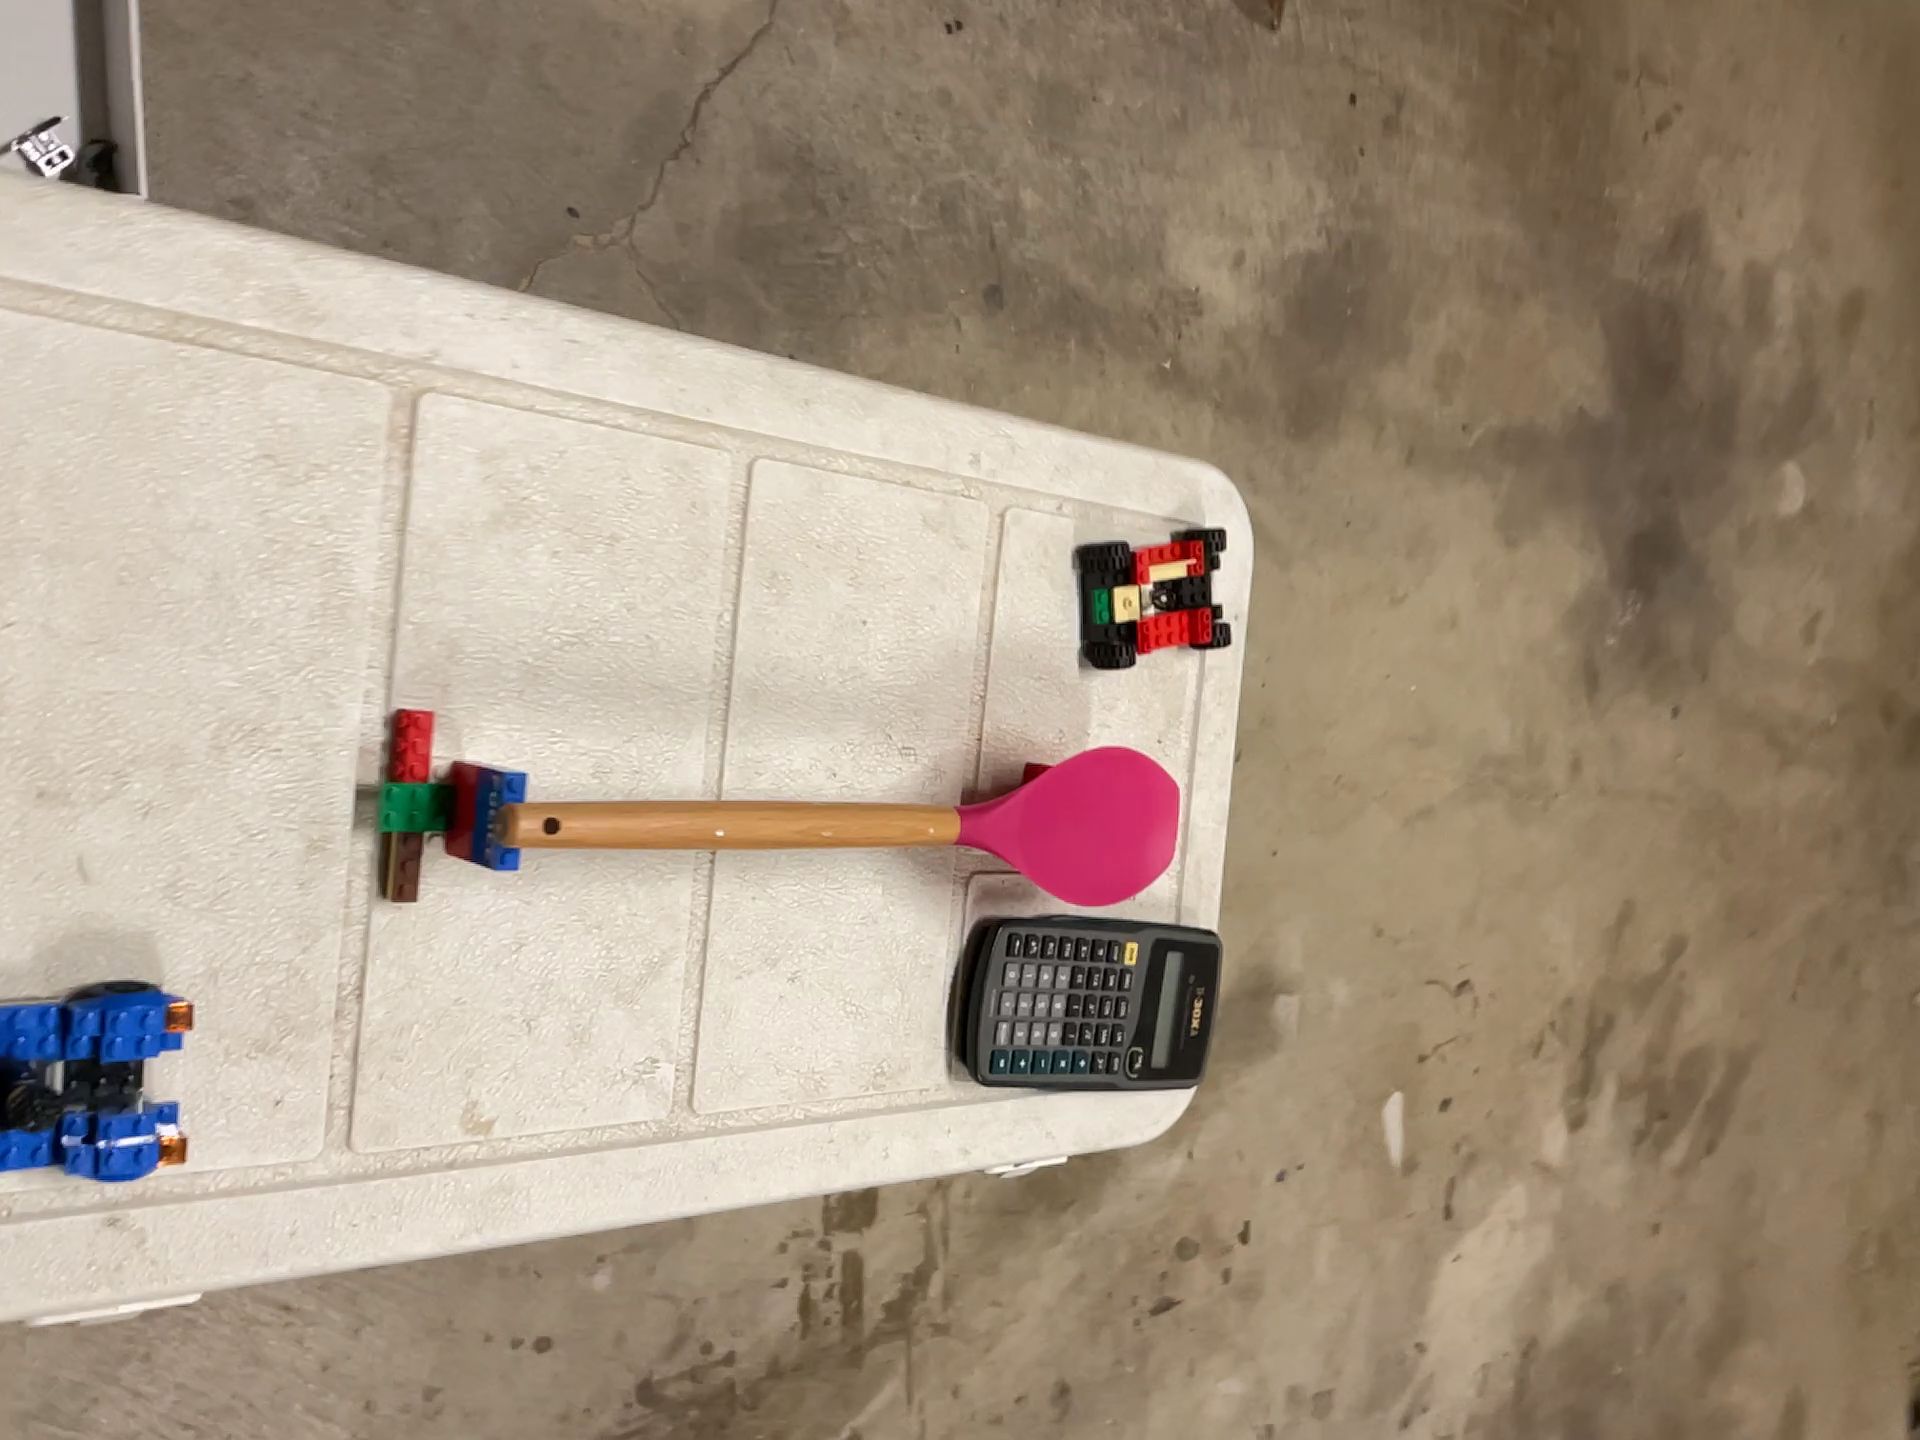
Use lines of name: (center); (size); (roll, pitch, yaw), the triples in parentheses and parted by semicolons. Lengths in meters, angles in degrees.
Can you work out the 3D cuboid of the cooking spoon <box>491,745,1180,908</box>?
cooking spoon: (-0.025, 0.039, 0.603); (0.319, 0.017, 0.068); (3, 92, -41)
